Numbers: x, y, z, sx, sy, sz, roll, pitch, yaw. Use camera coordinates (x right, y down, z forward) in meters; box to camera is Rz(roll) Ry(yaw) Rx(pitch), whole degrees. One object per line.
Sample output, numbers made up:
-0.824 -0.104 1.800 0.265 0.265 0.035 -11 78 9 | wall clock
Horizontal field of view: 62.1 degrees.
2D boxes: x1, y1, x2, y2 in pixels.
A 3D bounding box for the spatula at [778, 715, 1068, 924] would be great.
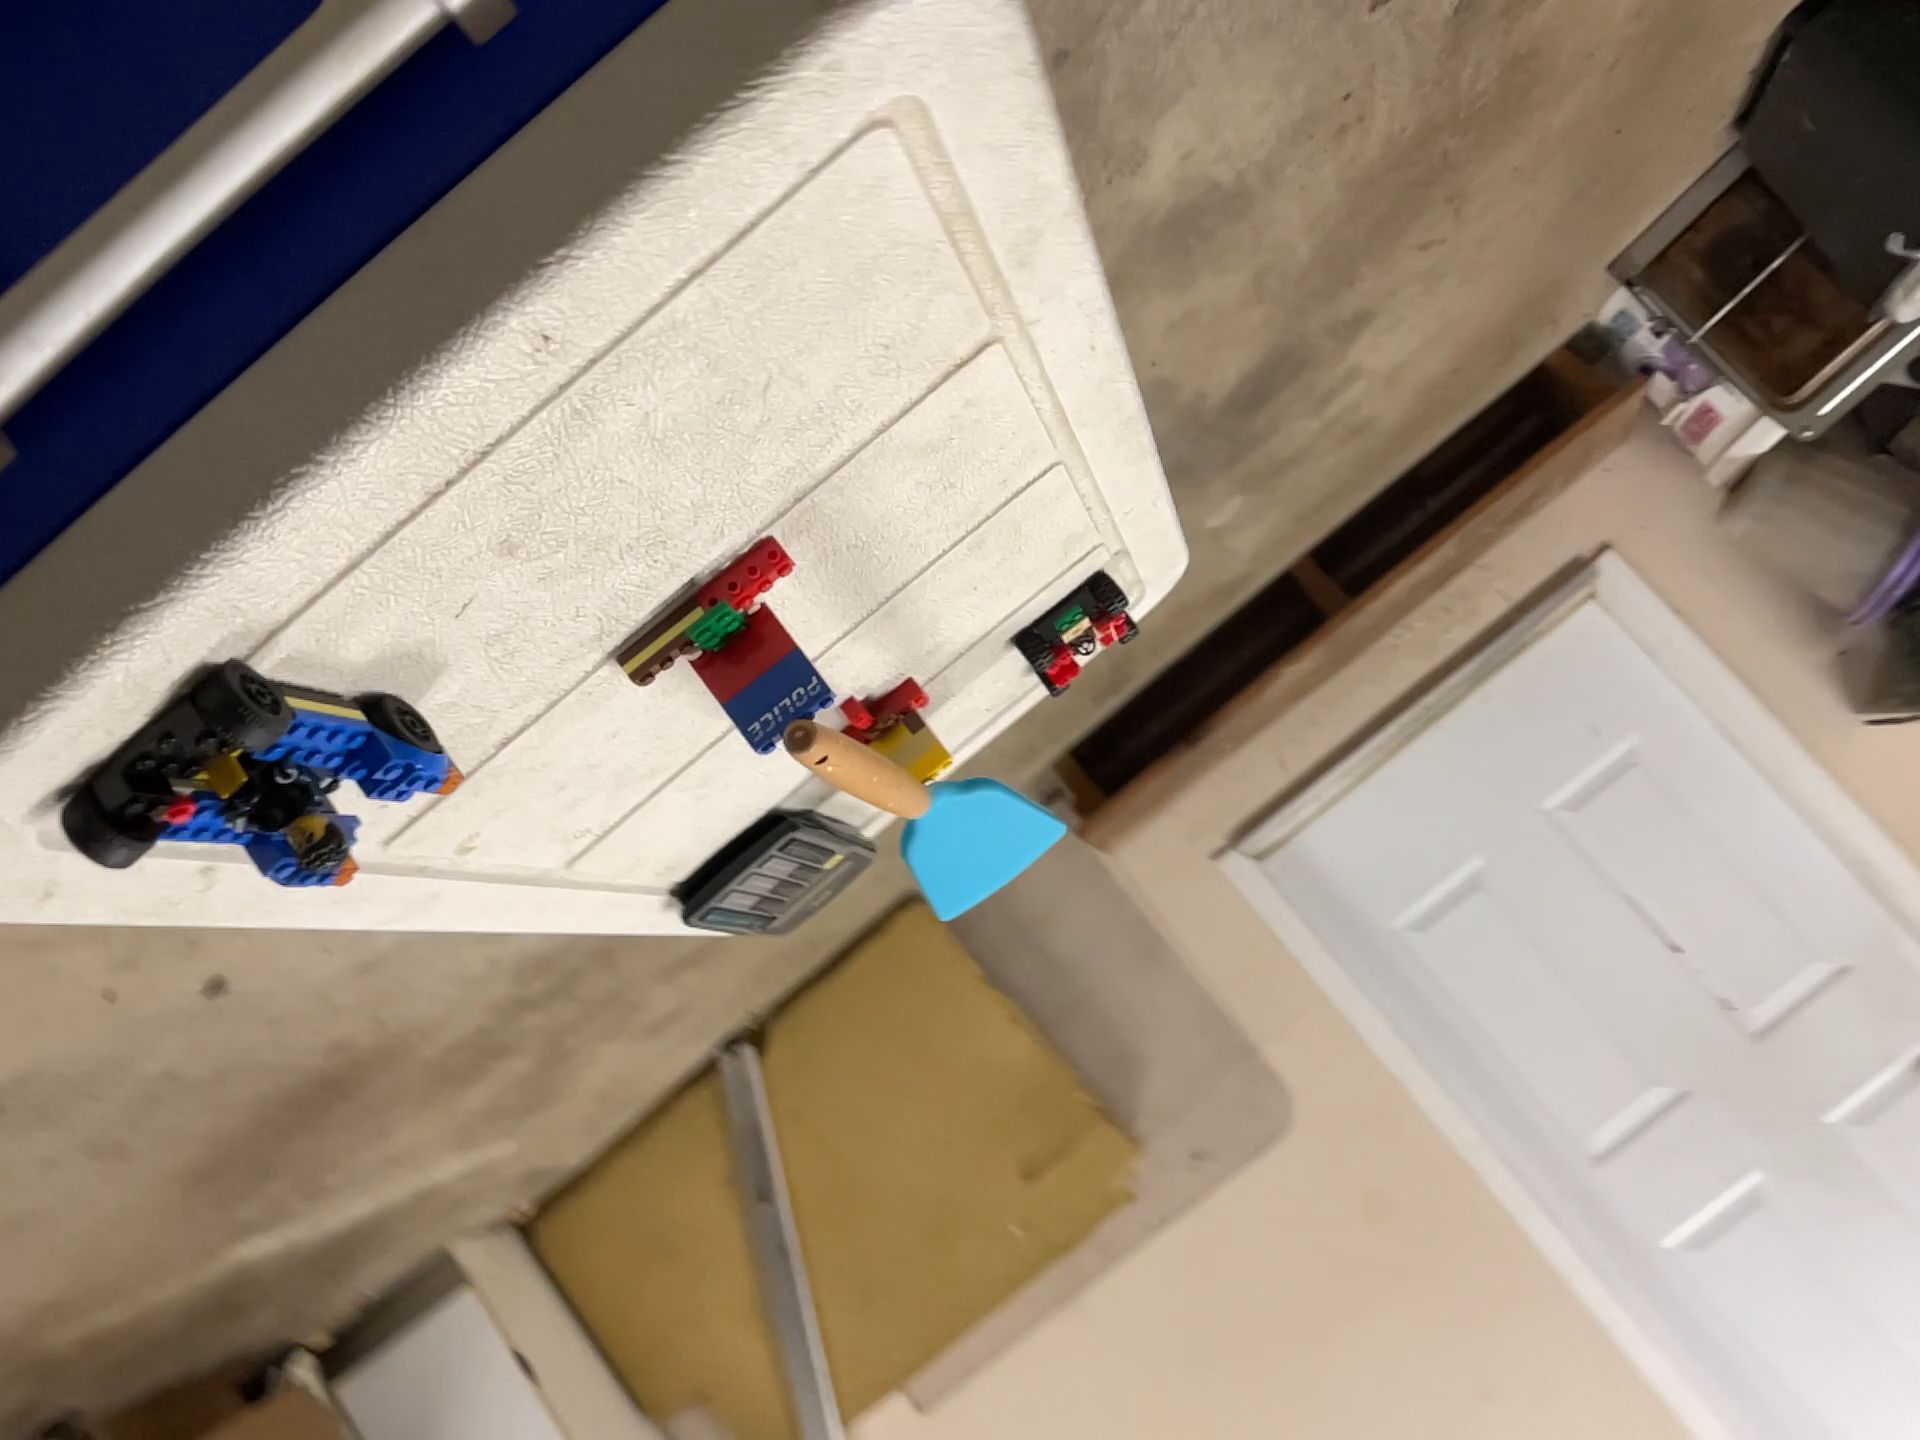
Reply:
-0.017 0.037 0.648 0.082 0.044 0.317 -36 166 3 | spatula
